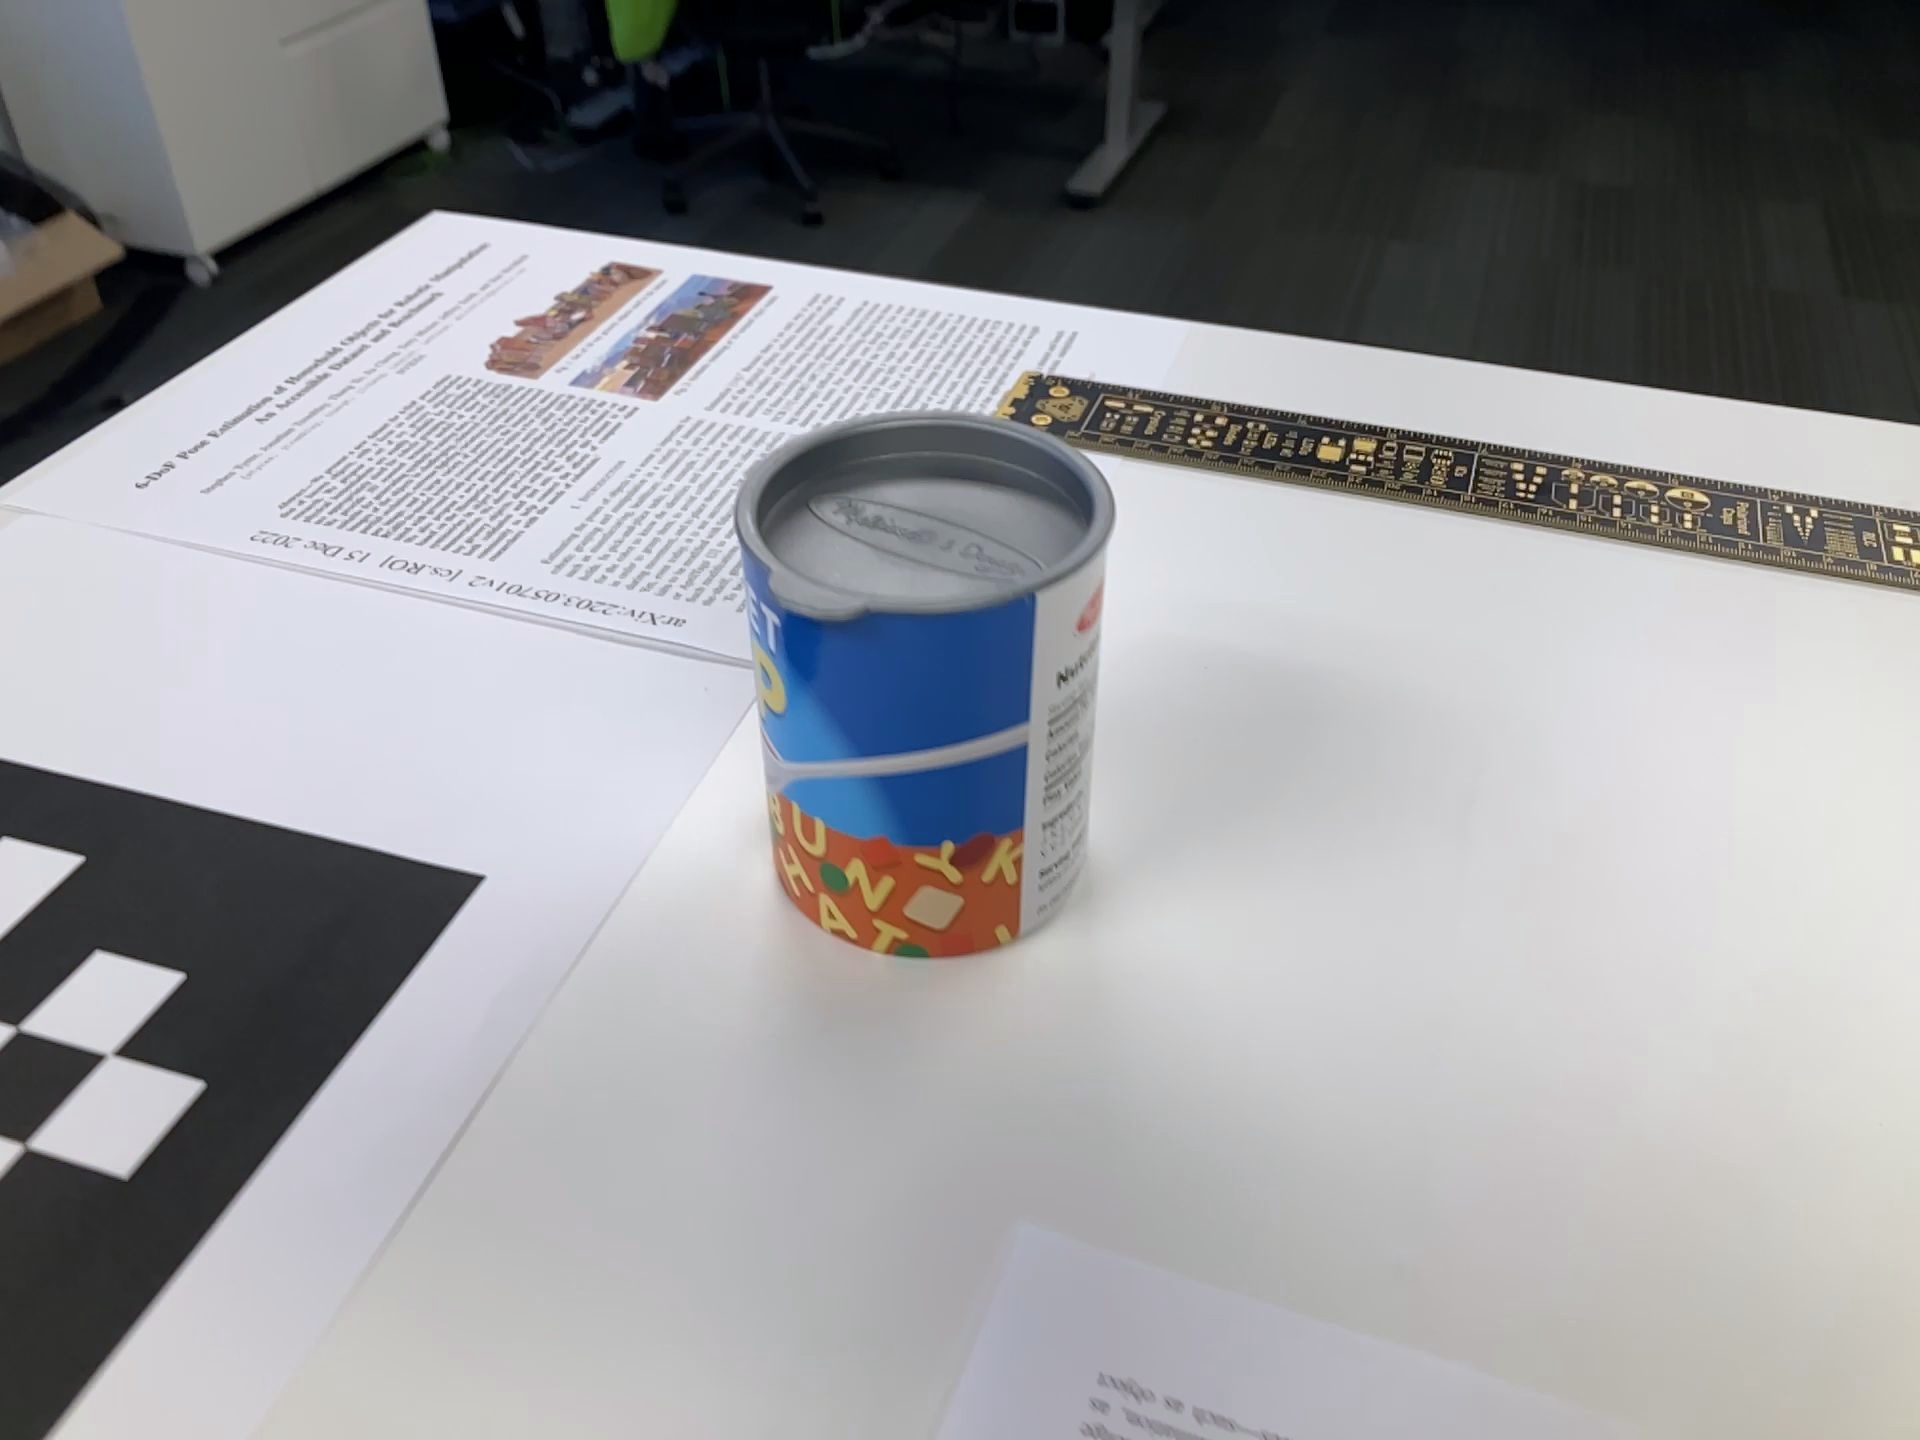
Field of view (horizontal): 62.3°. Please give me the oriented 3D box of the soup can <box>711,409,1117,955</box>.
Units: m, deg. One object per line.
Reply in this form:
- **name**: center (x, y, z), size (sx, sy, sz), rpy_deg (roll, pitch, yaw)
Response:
- **soup can**: center (-0.009, -0.007, 0.304), size (0.071, 0.084, 0.071), rpy_deg (1, 38, 0)
